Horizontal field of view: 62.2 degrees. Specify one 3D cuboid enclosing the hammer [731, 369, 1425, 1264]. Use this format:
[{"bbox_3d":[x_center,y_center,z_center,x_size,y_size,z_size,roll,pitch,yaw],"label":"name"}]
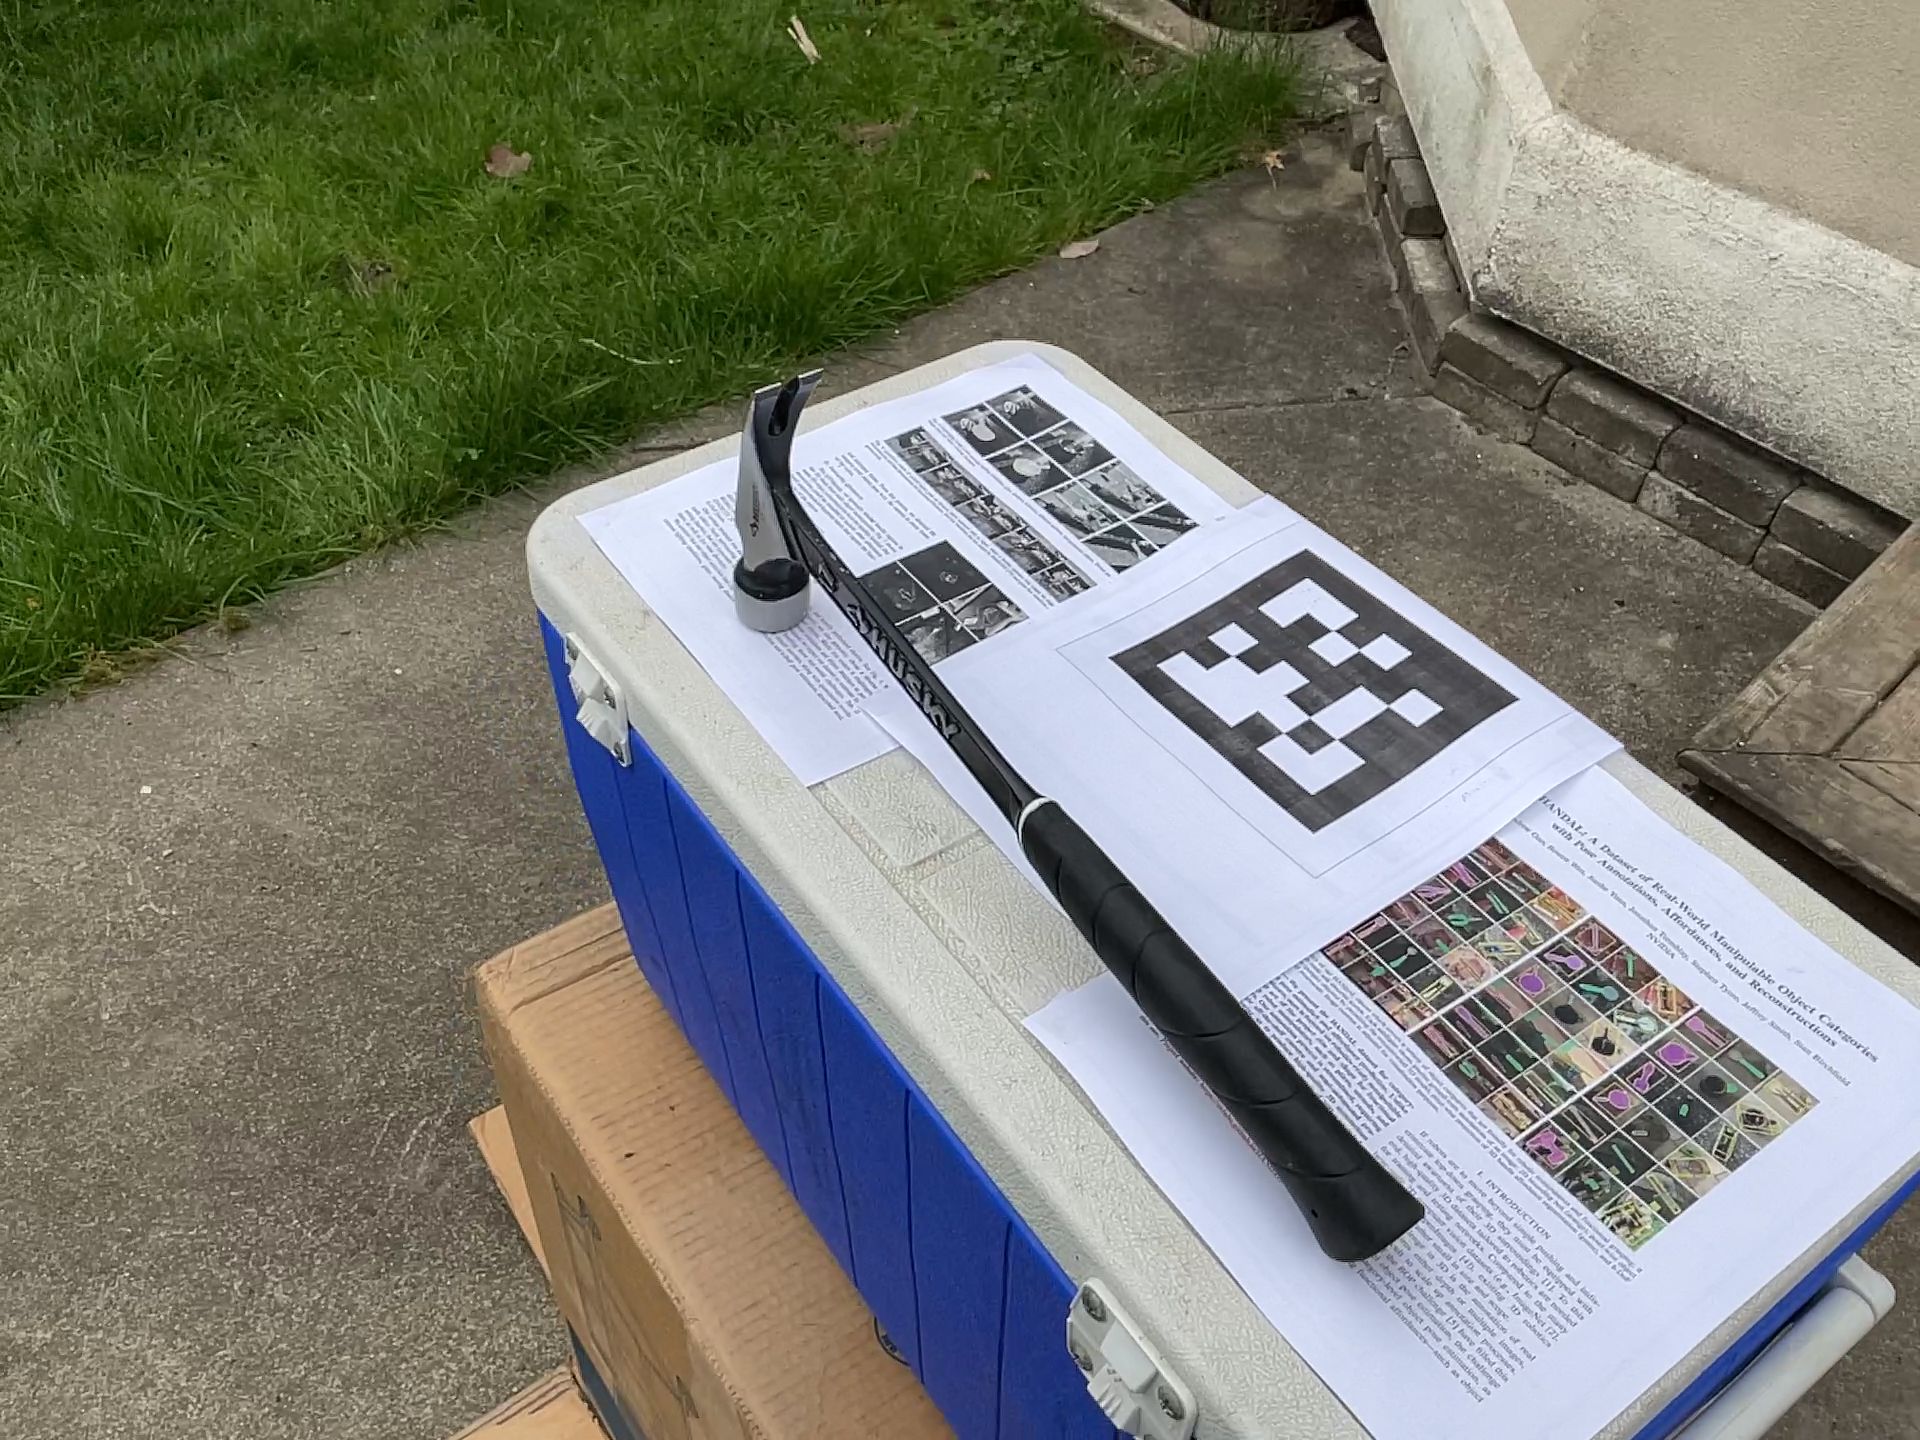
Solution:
[{"bbox_3d":[0.023,0.027,0.600,0.036,0.149,0.409,-26,58,-24],"label":"hammer"}]
